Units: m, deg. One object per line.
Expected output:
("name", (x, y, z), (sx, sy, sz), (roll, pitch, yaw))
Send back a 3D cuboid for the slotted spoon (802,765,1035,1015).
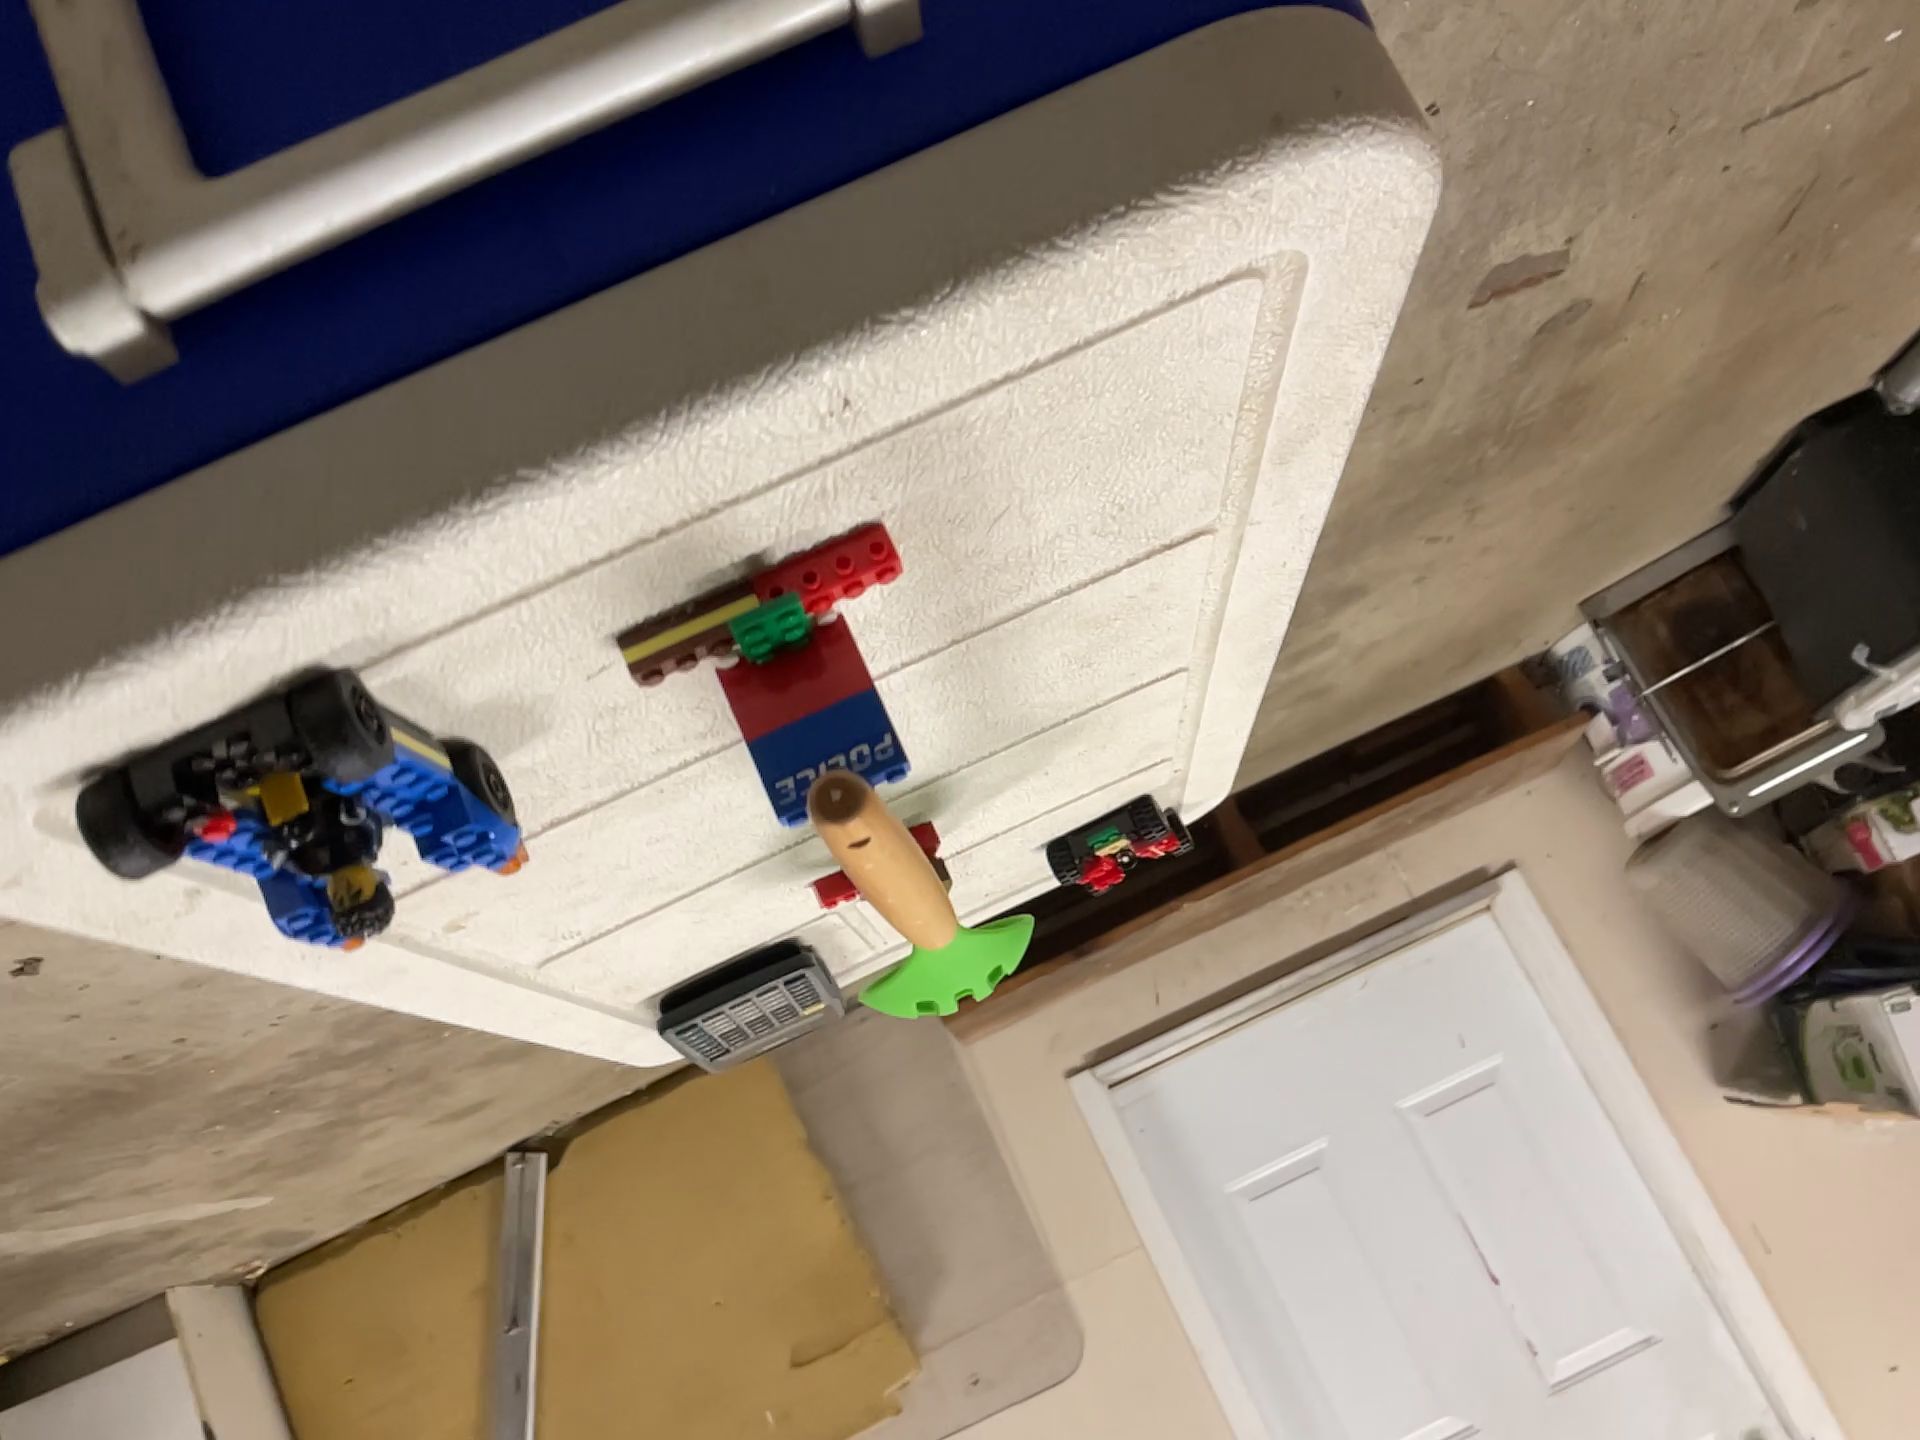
("slotted spoon", (-0.013, 0.057, 0.463), (0.070, 0.031, 0.313), (-24, 164, -2))
